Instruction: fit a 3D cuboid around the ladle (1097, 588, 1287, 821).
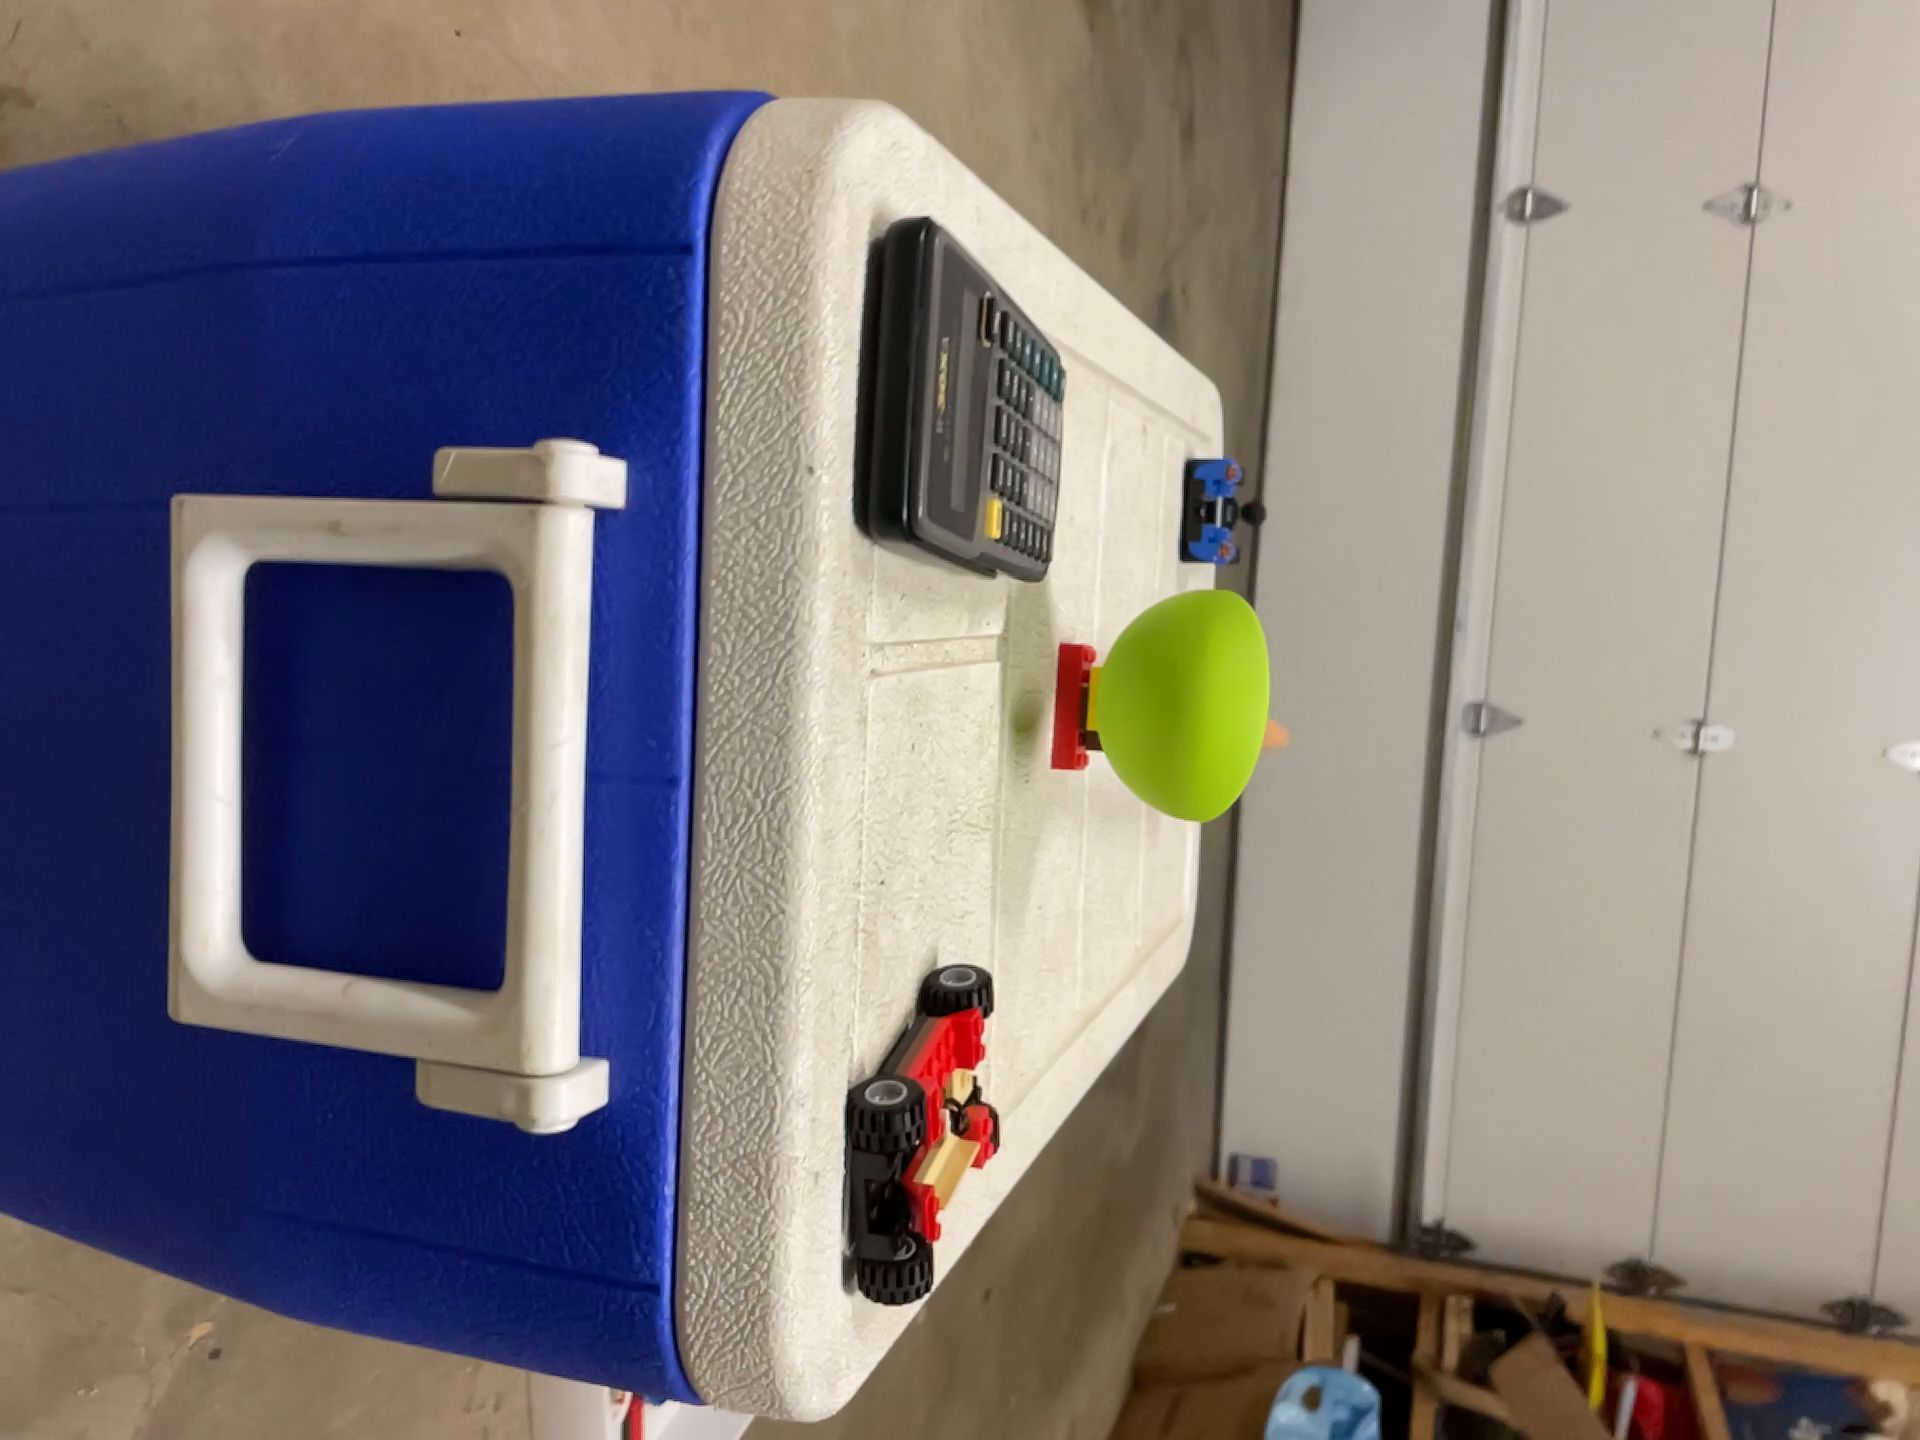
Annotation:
[{"bbox_3d":[0.117,0.001,0.650,0.320,0.062,0.078,10,84,-71],"label":"ladle"}]
